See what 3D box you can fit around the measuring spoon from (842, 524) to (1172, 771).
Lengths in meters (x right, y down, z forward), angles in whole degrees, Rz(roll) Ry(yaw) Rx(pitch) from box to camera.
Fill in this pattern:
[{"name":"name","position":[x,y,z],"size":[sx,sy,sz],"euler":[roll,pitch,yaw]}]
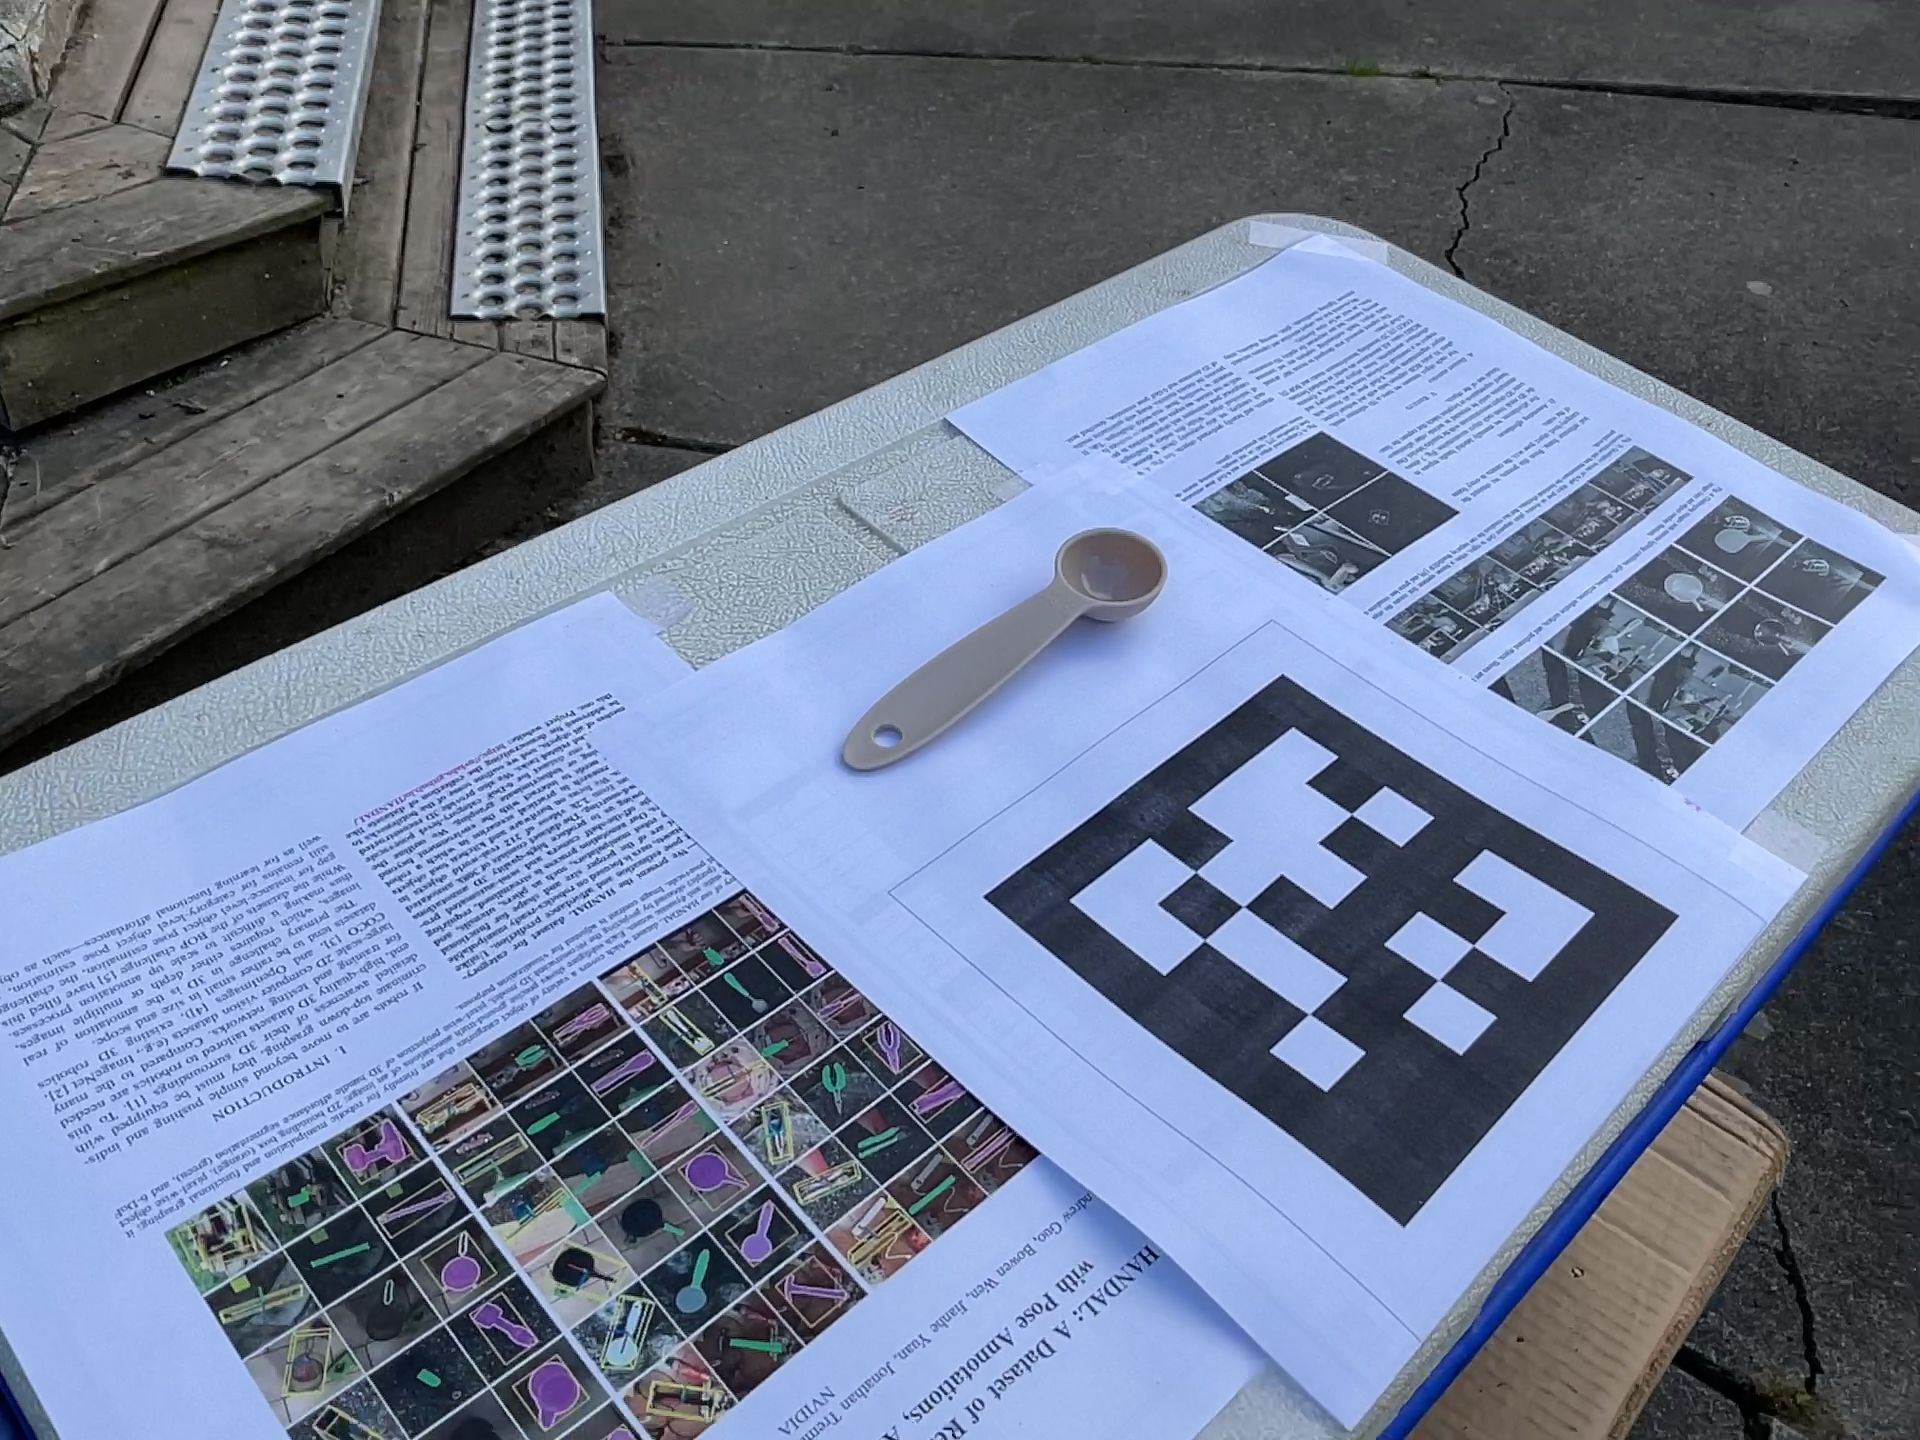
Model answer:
[{"name":"measuring spoon","position":[0.014,-0.018,0.464],"size":[0.124,0.018,0.034],"euler":[-37,60,-27]}]
